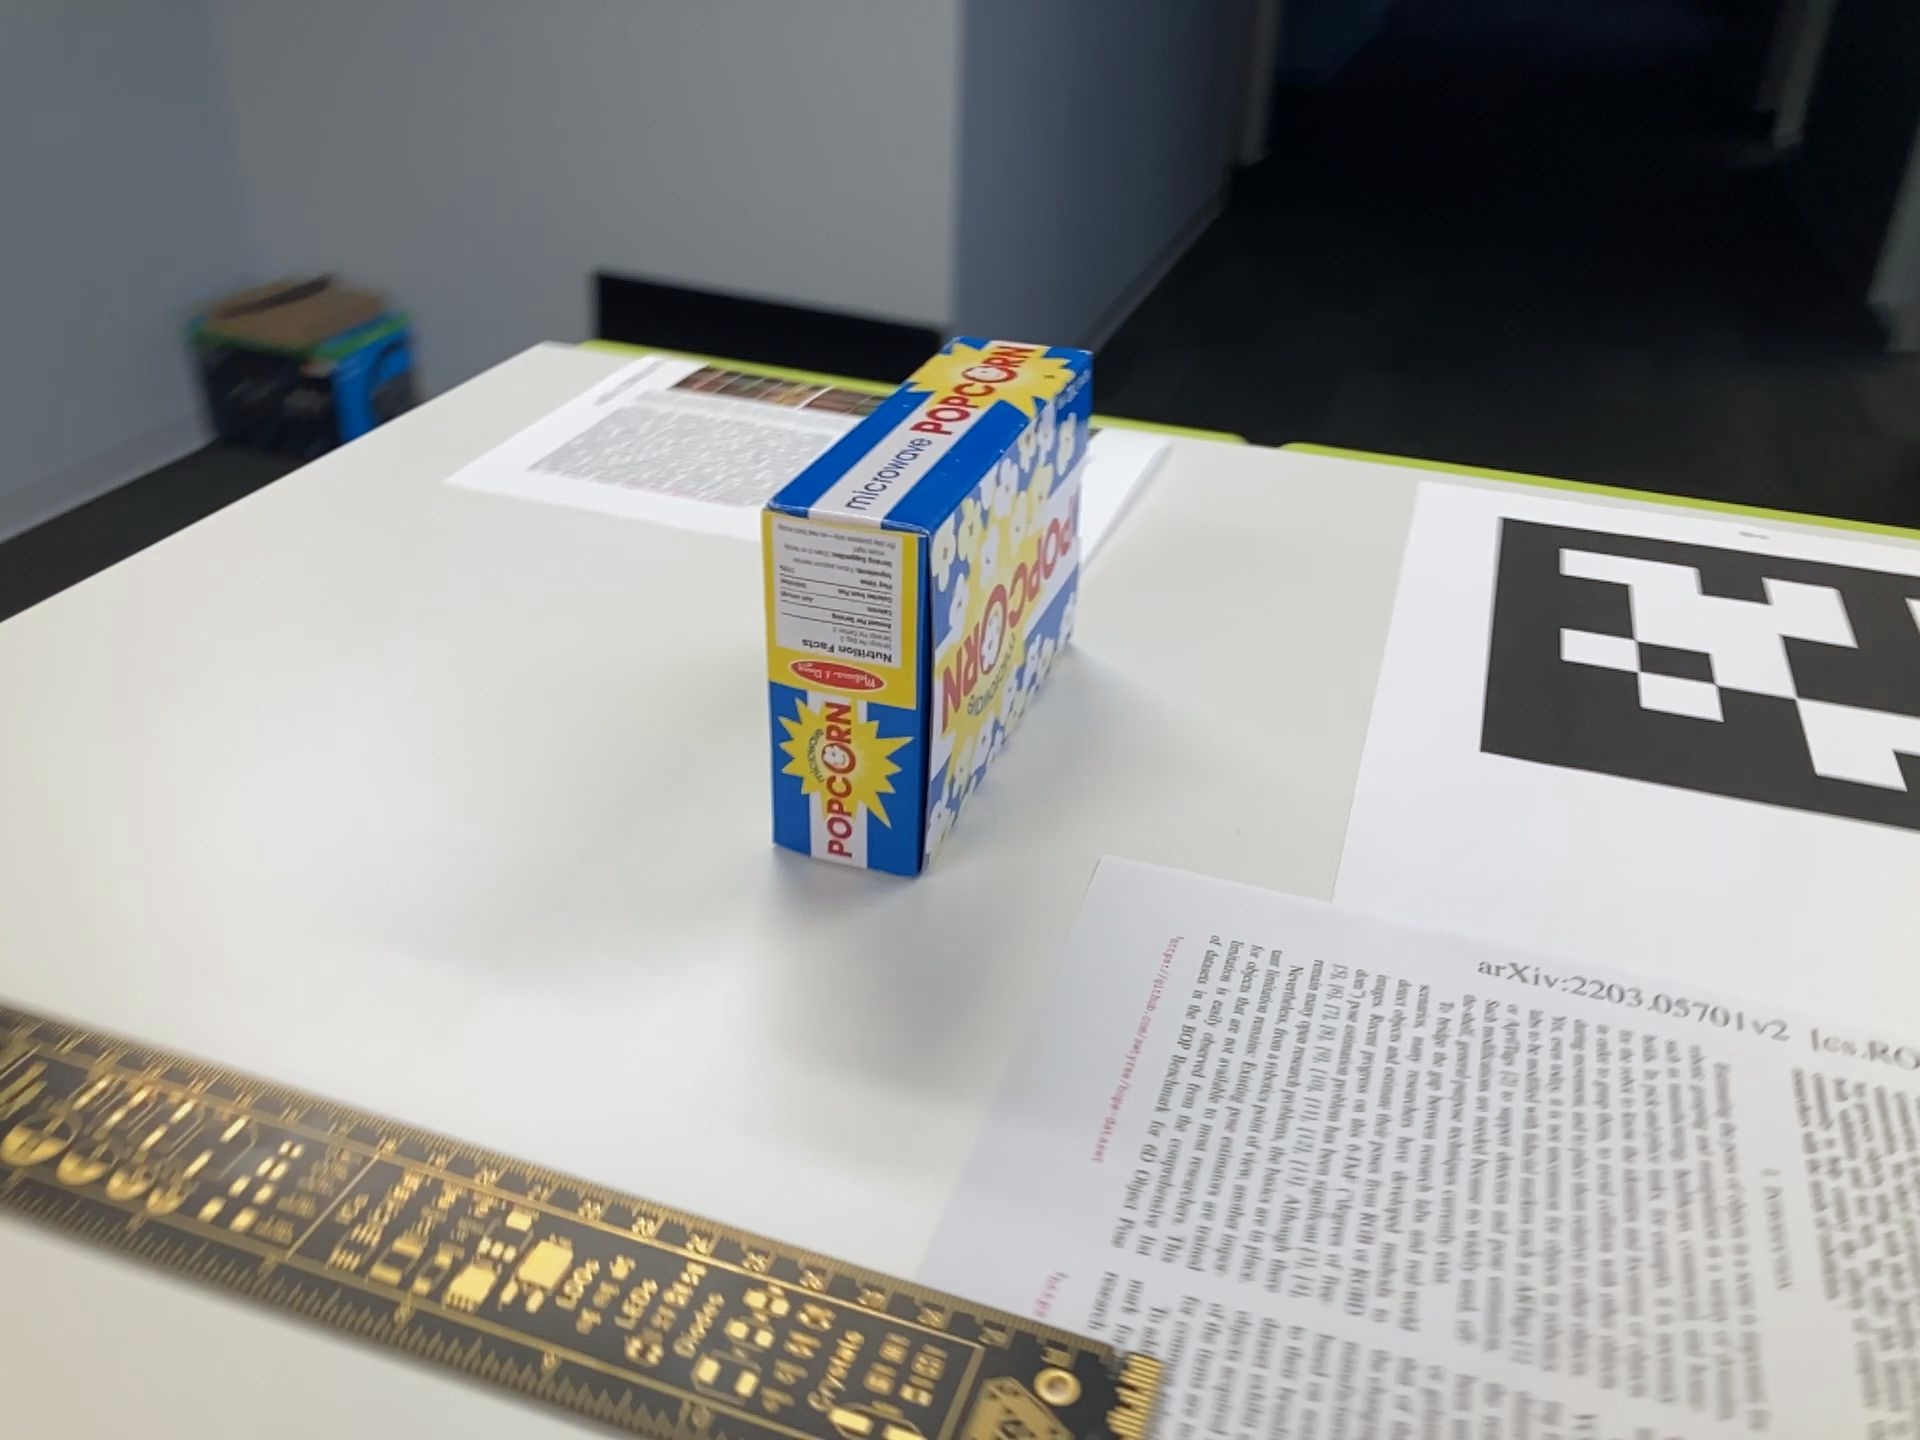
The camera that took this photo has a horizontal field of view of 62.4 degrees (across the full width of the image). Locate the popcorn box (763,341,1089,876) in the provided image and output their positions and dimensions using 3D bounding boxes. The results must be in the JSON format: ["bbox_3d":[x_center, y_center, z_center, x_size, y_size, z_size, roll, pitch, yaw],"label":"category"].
[{"bbox_3d":[-0.004,-0.033,0.384,0.038,0.085,0.126,10,32,16],"label":"popcorn box"}]
